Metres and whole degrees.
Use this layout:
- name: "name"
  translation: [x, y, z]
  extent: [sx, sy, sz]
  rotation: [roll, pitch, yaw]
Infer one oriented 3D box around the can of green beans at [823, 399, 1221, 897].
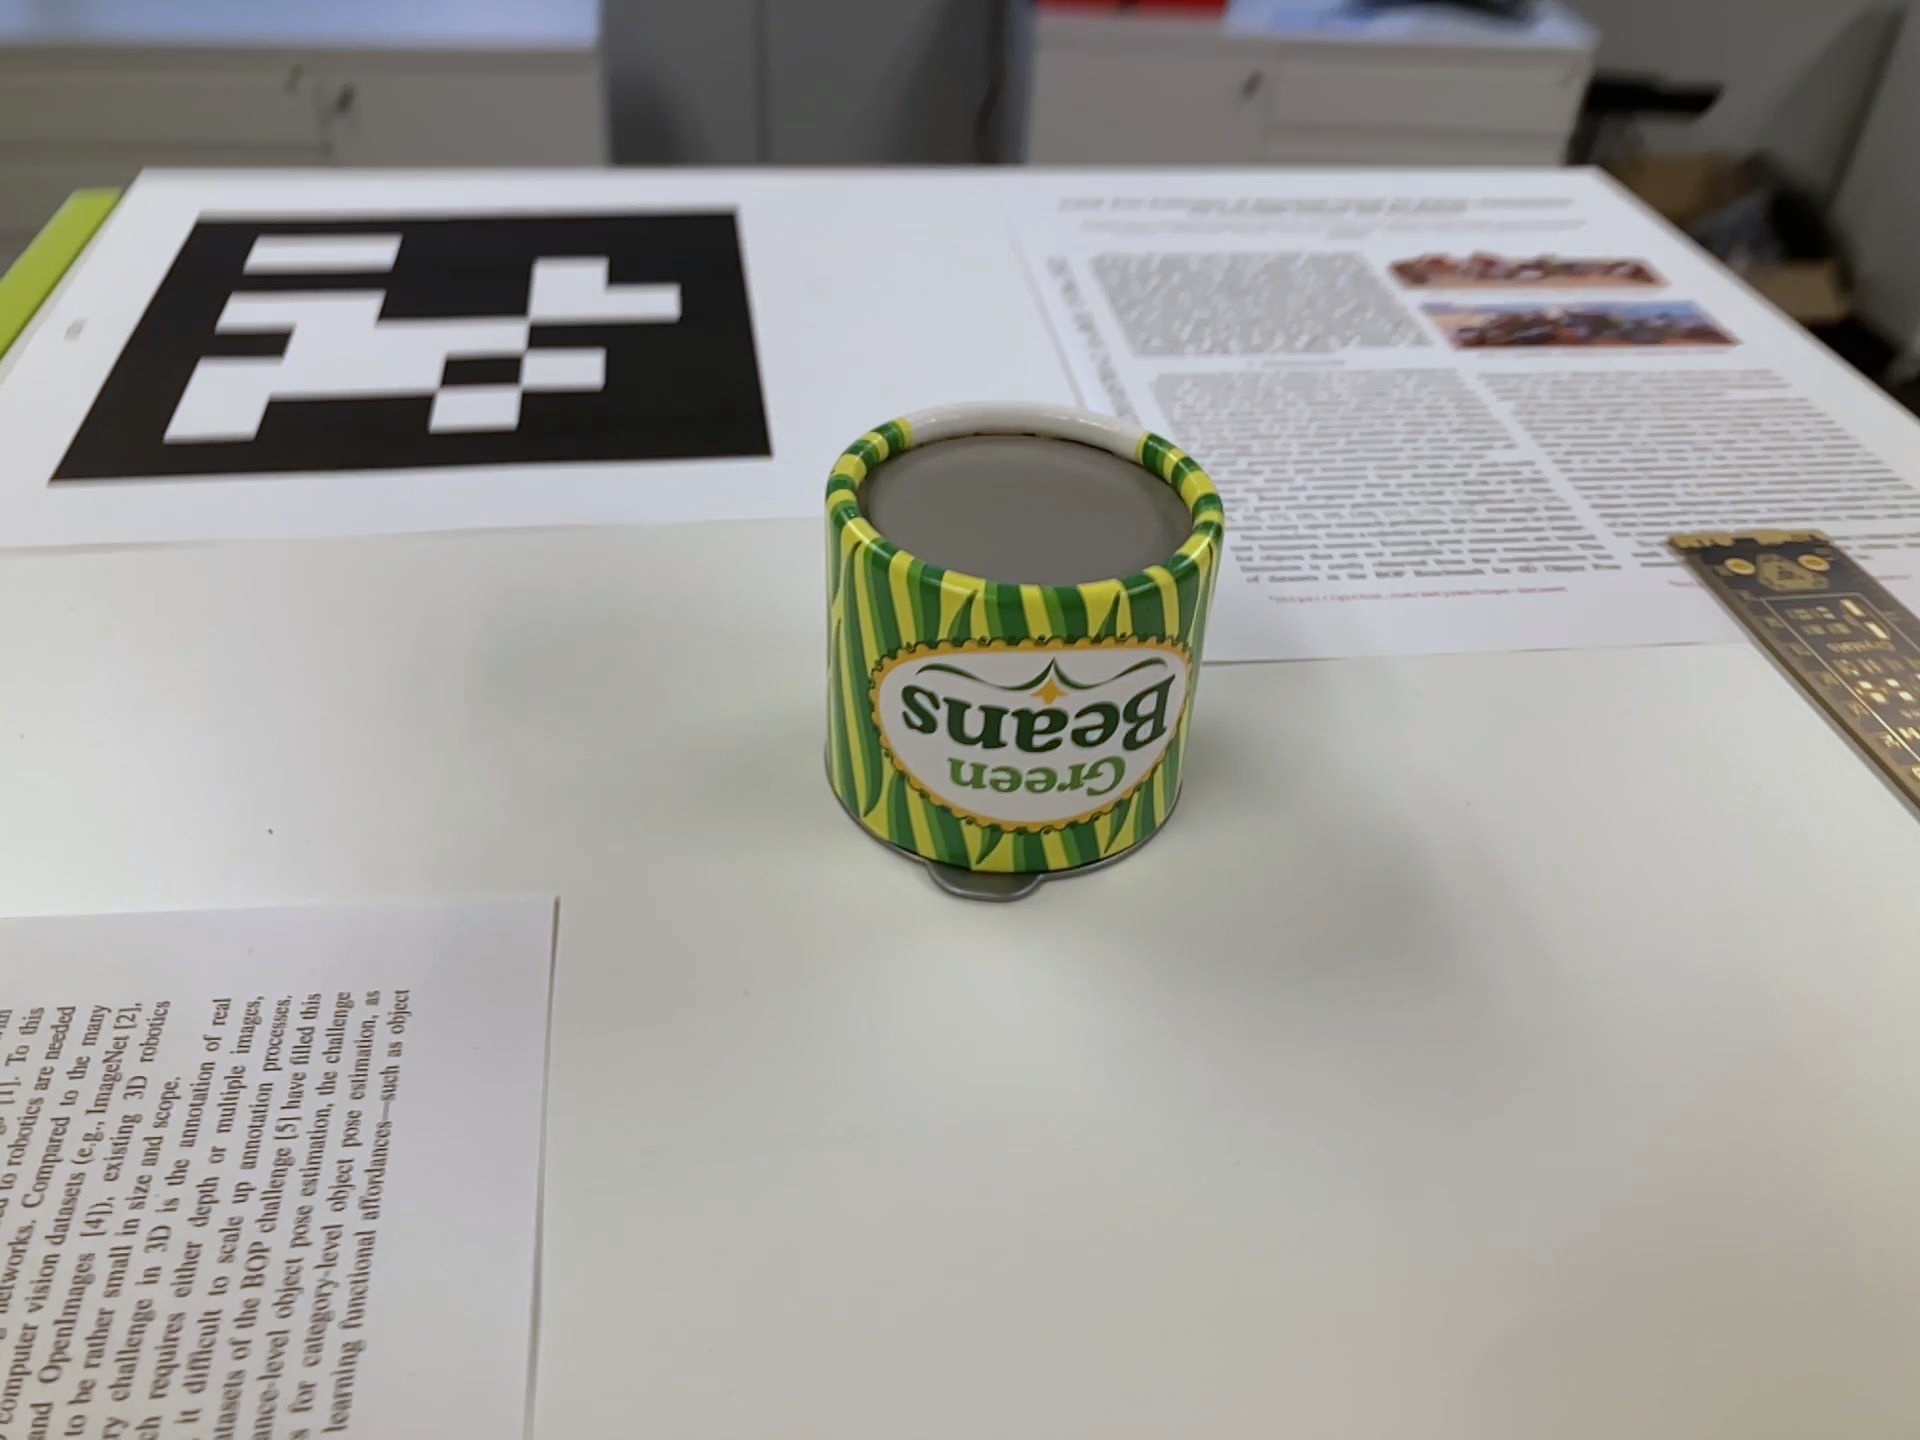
- name: "can of green beans"
  translation: [0.009, -0.016, 0.281]
  extent: [0.071, 0.058, 0.071]
  rotation: [2, 38, -2]
